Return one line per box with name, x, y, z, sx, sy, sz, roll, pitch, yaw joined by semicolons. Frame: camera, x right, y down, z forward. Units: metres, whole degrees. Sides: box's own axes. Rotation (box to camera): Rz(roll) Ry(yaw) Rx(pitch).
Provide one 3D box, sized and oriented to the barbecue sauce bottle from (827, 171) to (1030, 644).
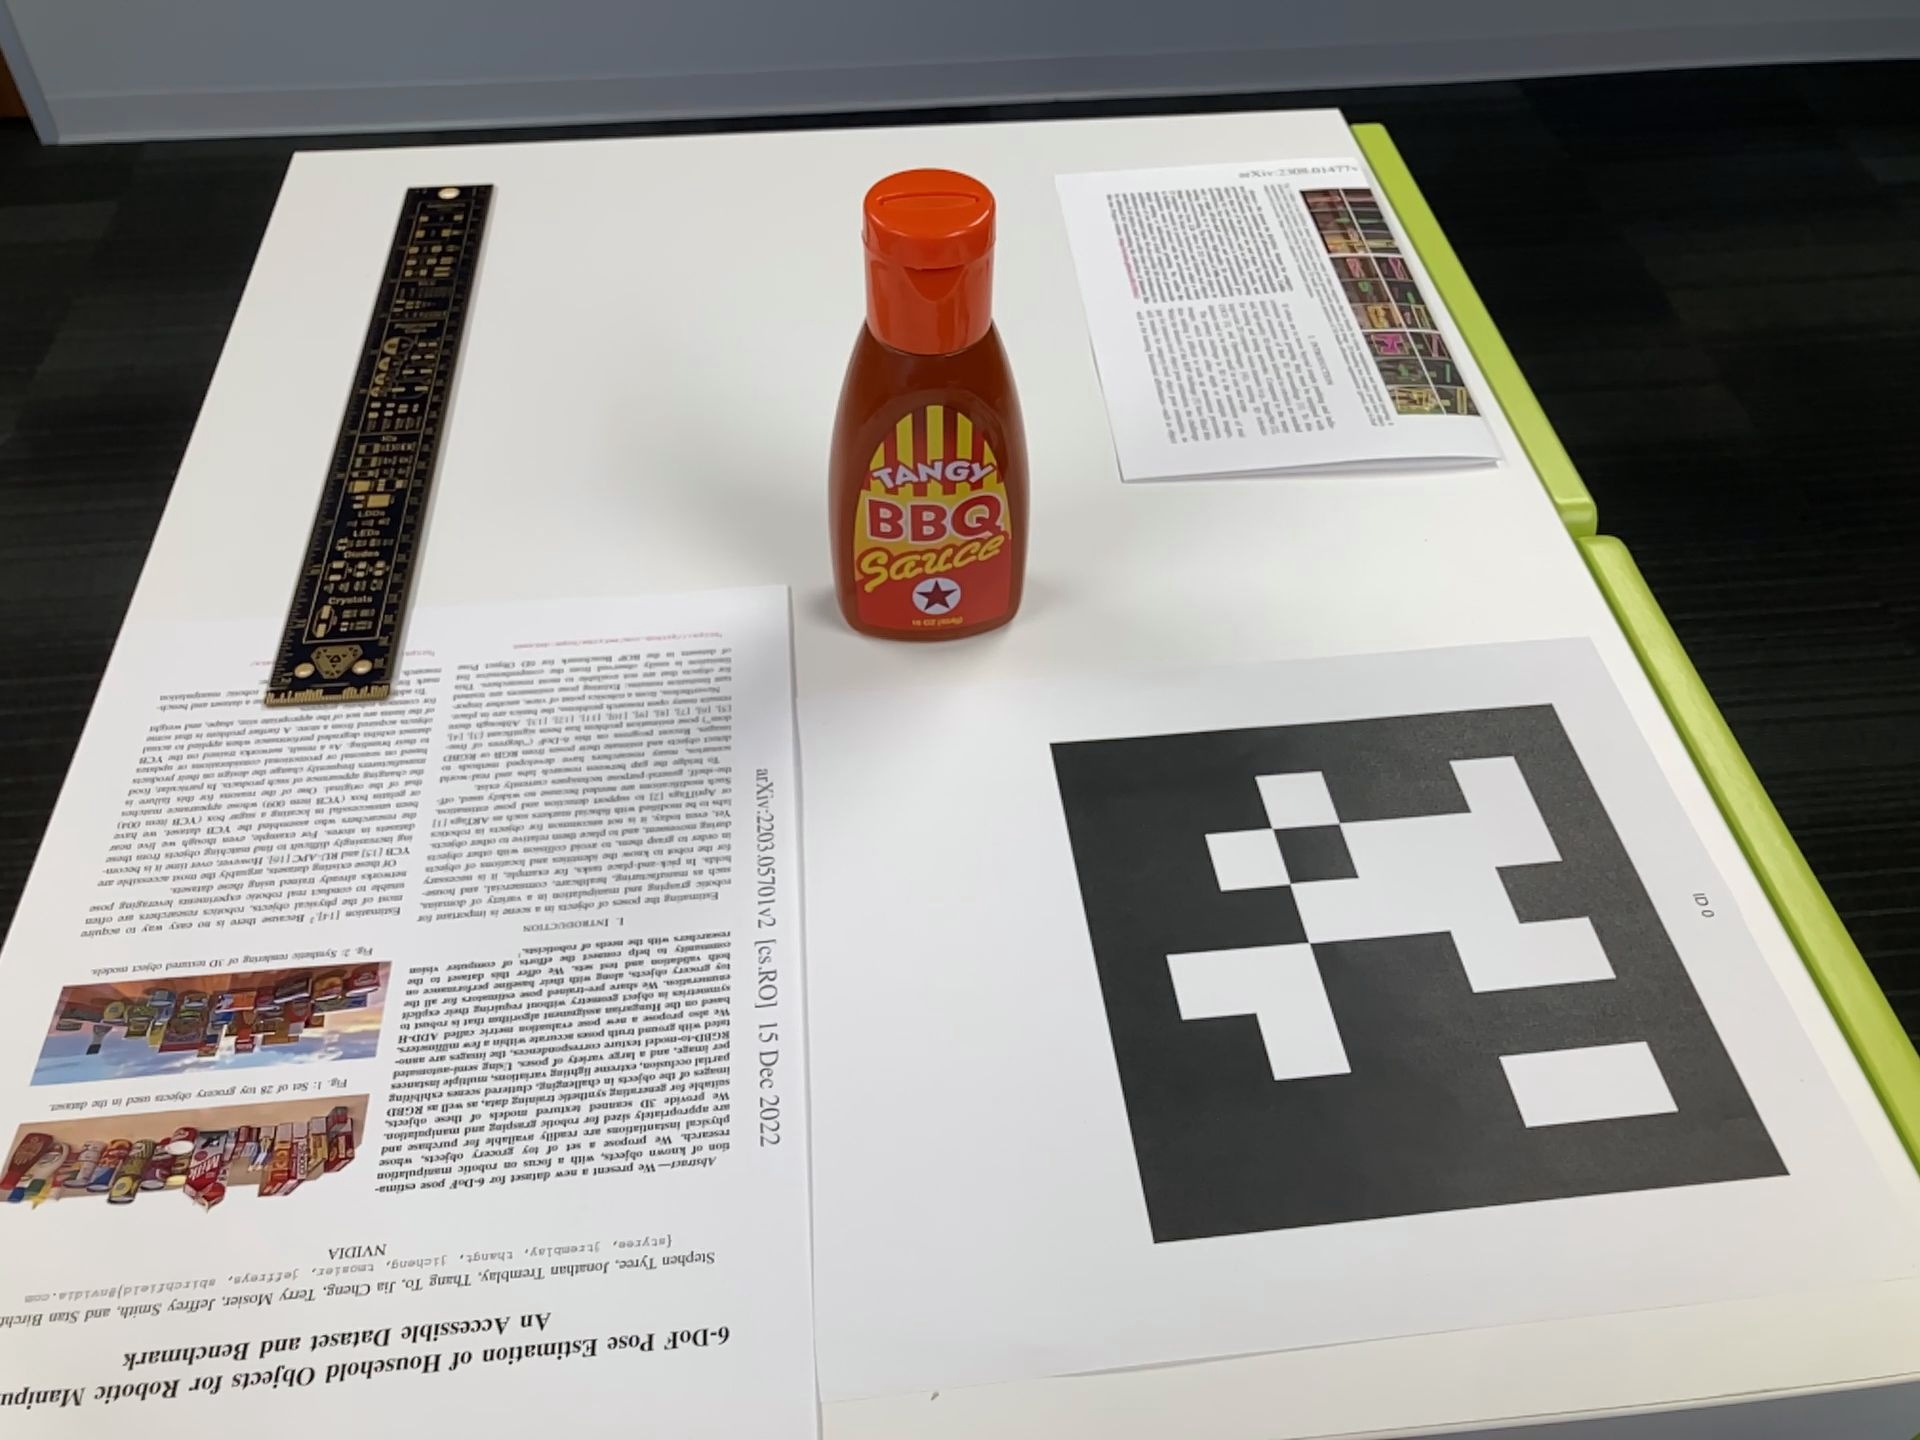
barbecue sauce bottle;-0.010;-0.090;0.484;0.065;0.148;0.043;-3;47;-4
